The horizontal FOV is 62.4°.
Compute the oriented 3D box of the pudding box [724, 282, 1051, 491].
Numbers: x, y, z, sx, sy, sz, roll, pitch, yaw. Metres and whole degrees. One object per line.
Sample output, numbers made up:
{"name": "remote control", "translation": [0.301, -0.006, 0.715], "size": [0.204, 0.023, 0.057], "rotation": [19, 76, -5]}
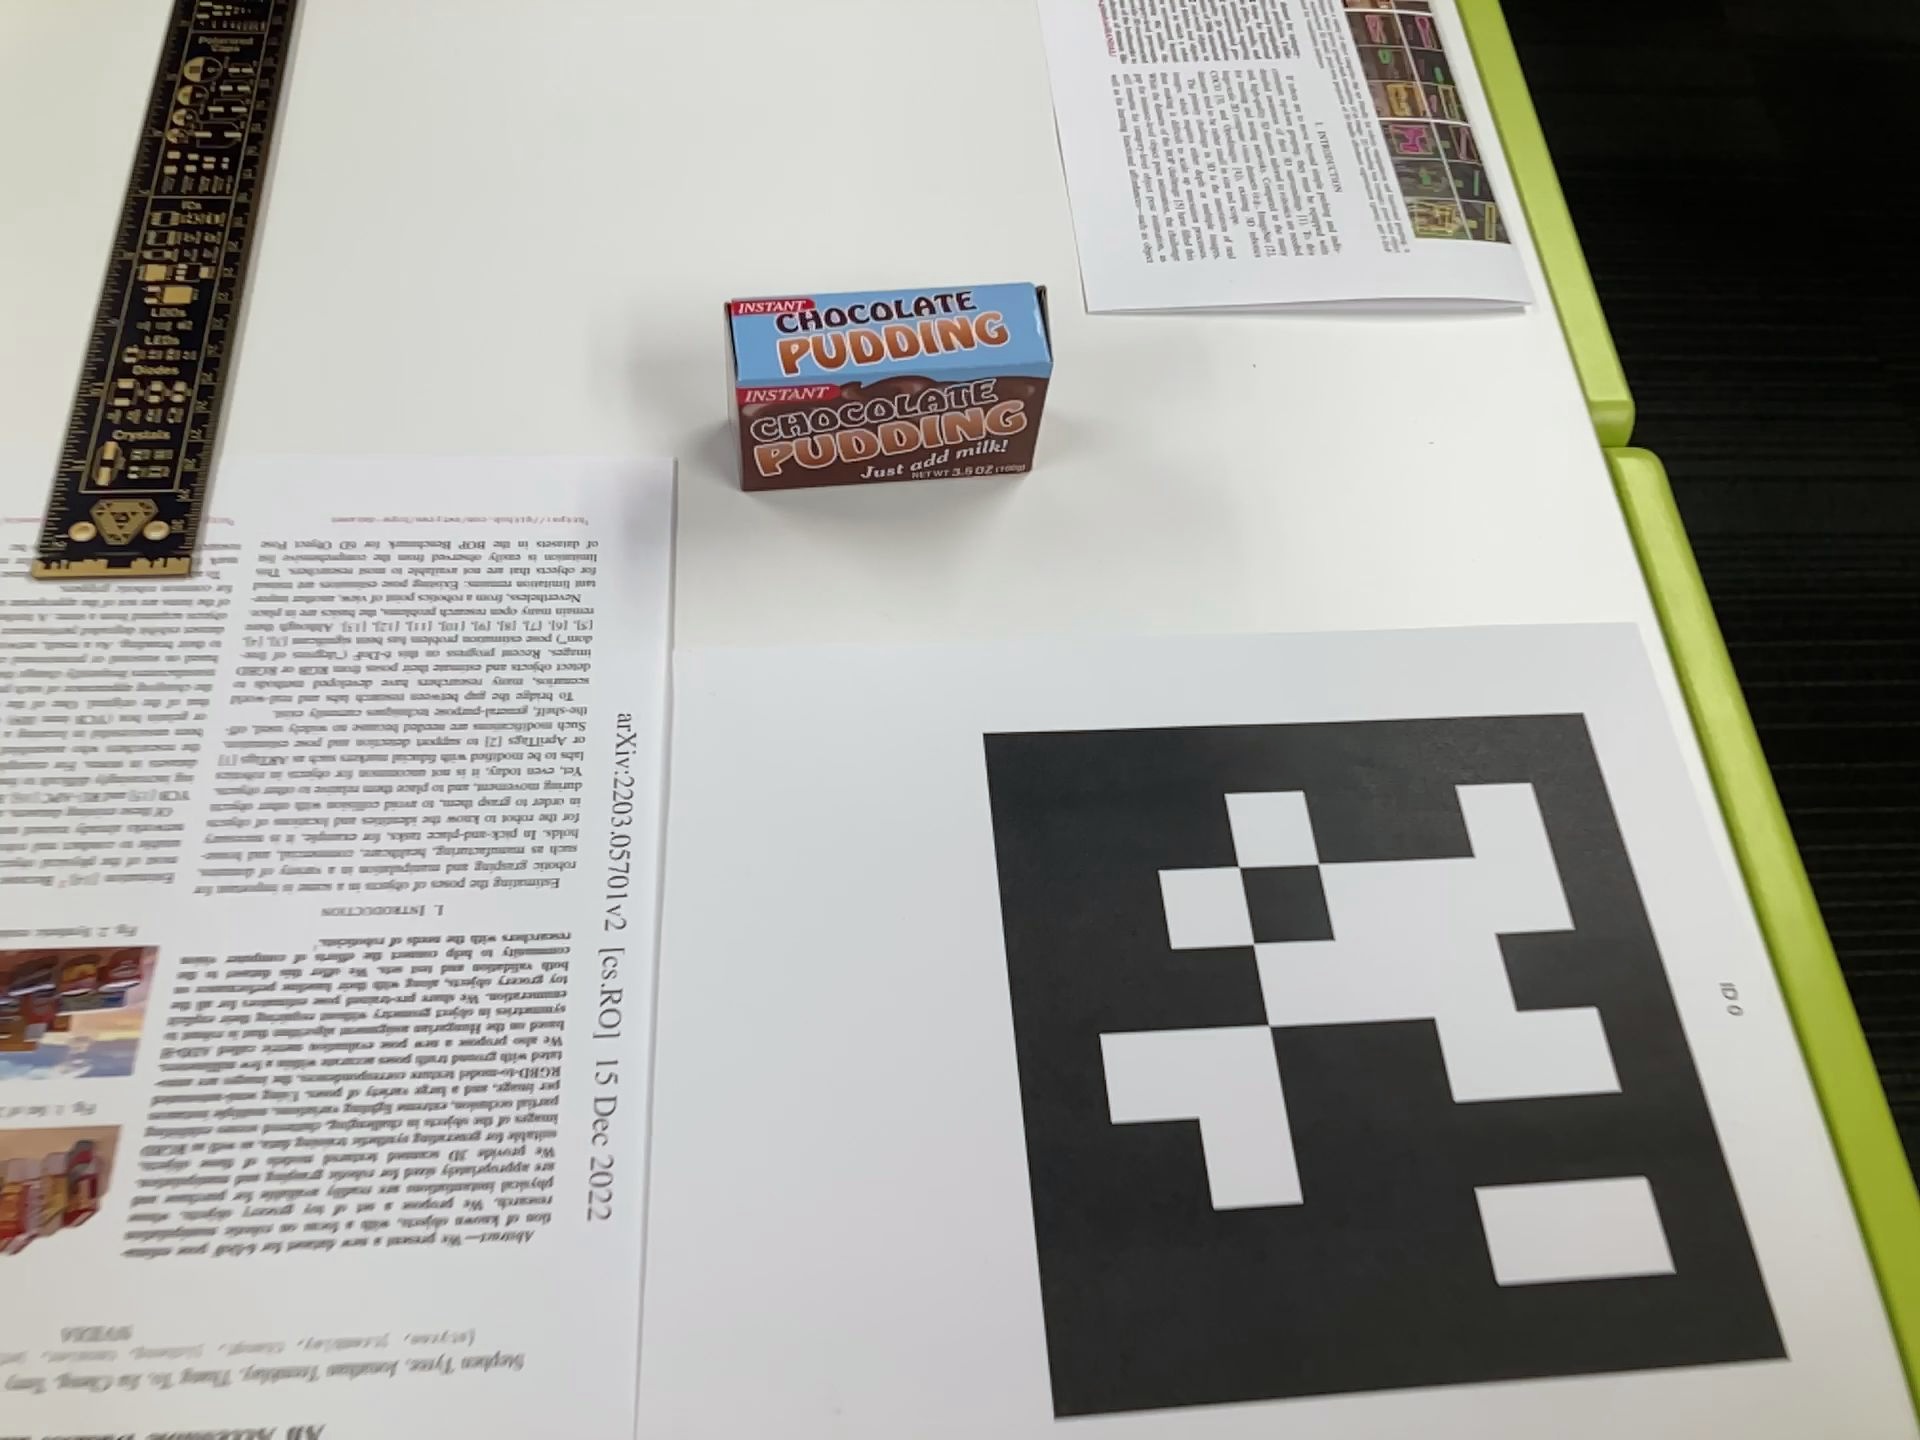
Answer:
{"name": "pudding box", "translation": [-0.020, -0.090, 0.428], "size": [0.083, 0.049, 0.030], "rotation": [-5, 63, -9]}
